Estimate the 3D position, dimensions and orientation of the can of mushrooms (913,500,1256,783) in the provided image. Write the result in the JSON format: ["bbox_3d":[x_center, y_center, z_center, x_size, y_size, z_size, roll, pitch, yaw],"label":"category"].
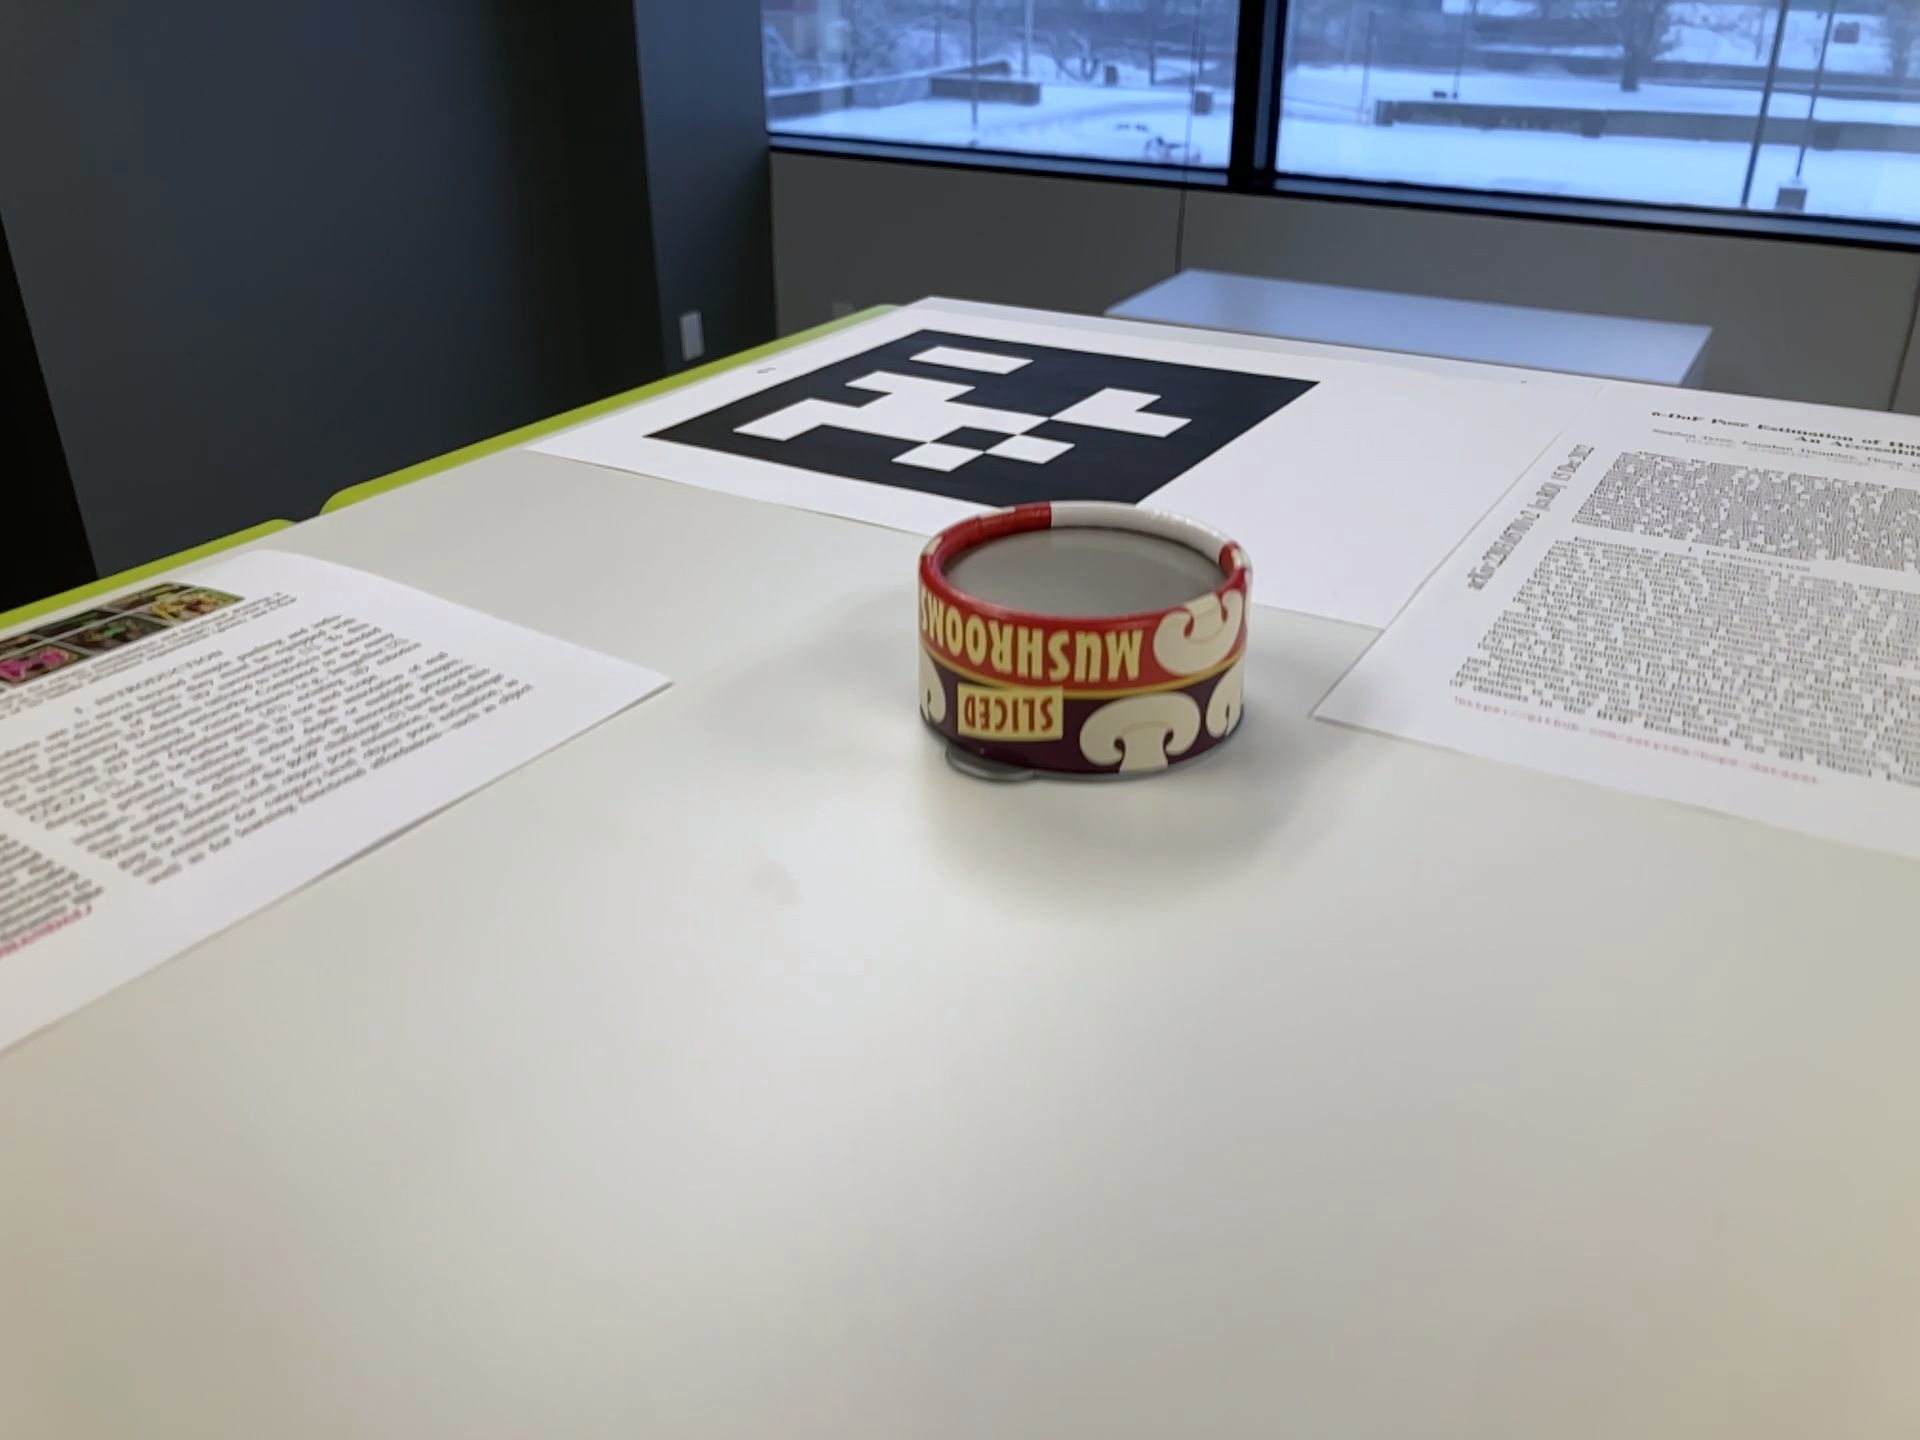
[{"bbox_3d":[0.023,-0.017,0.309,0.071,0.033,0.071,-1,28,0],"label":"can of mushrooms"}]
